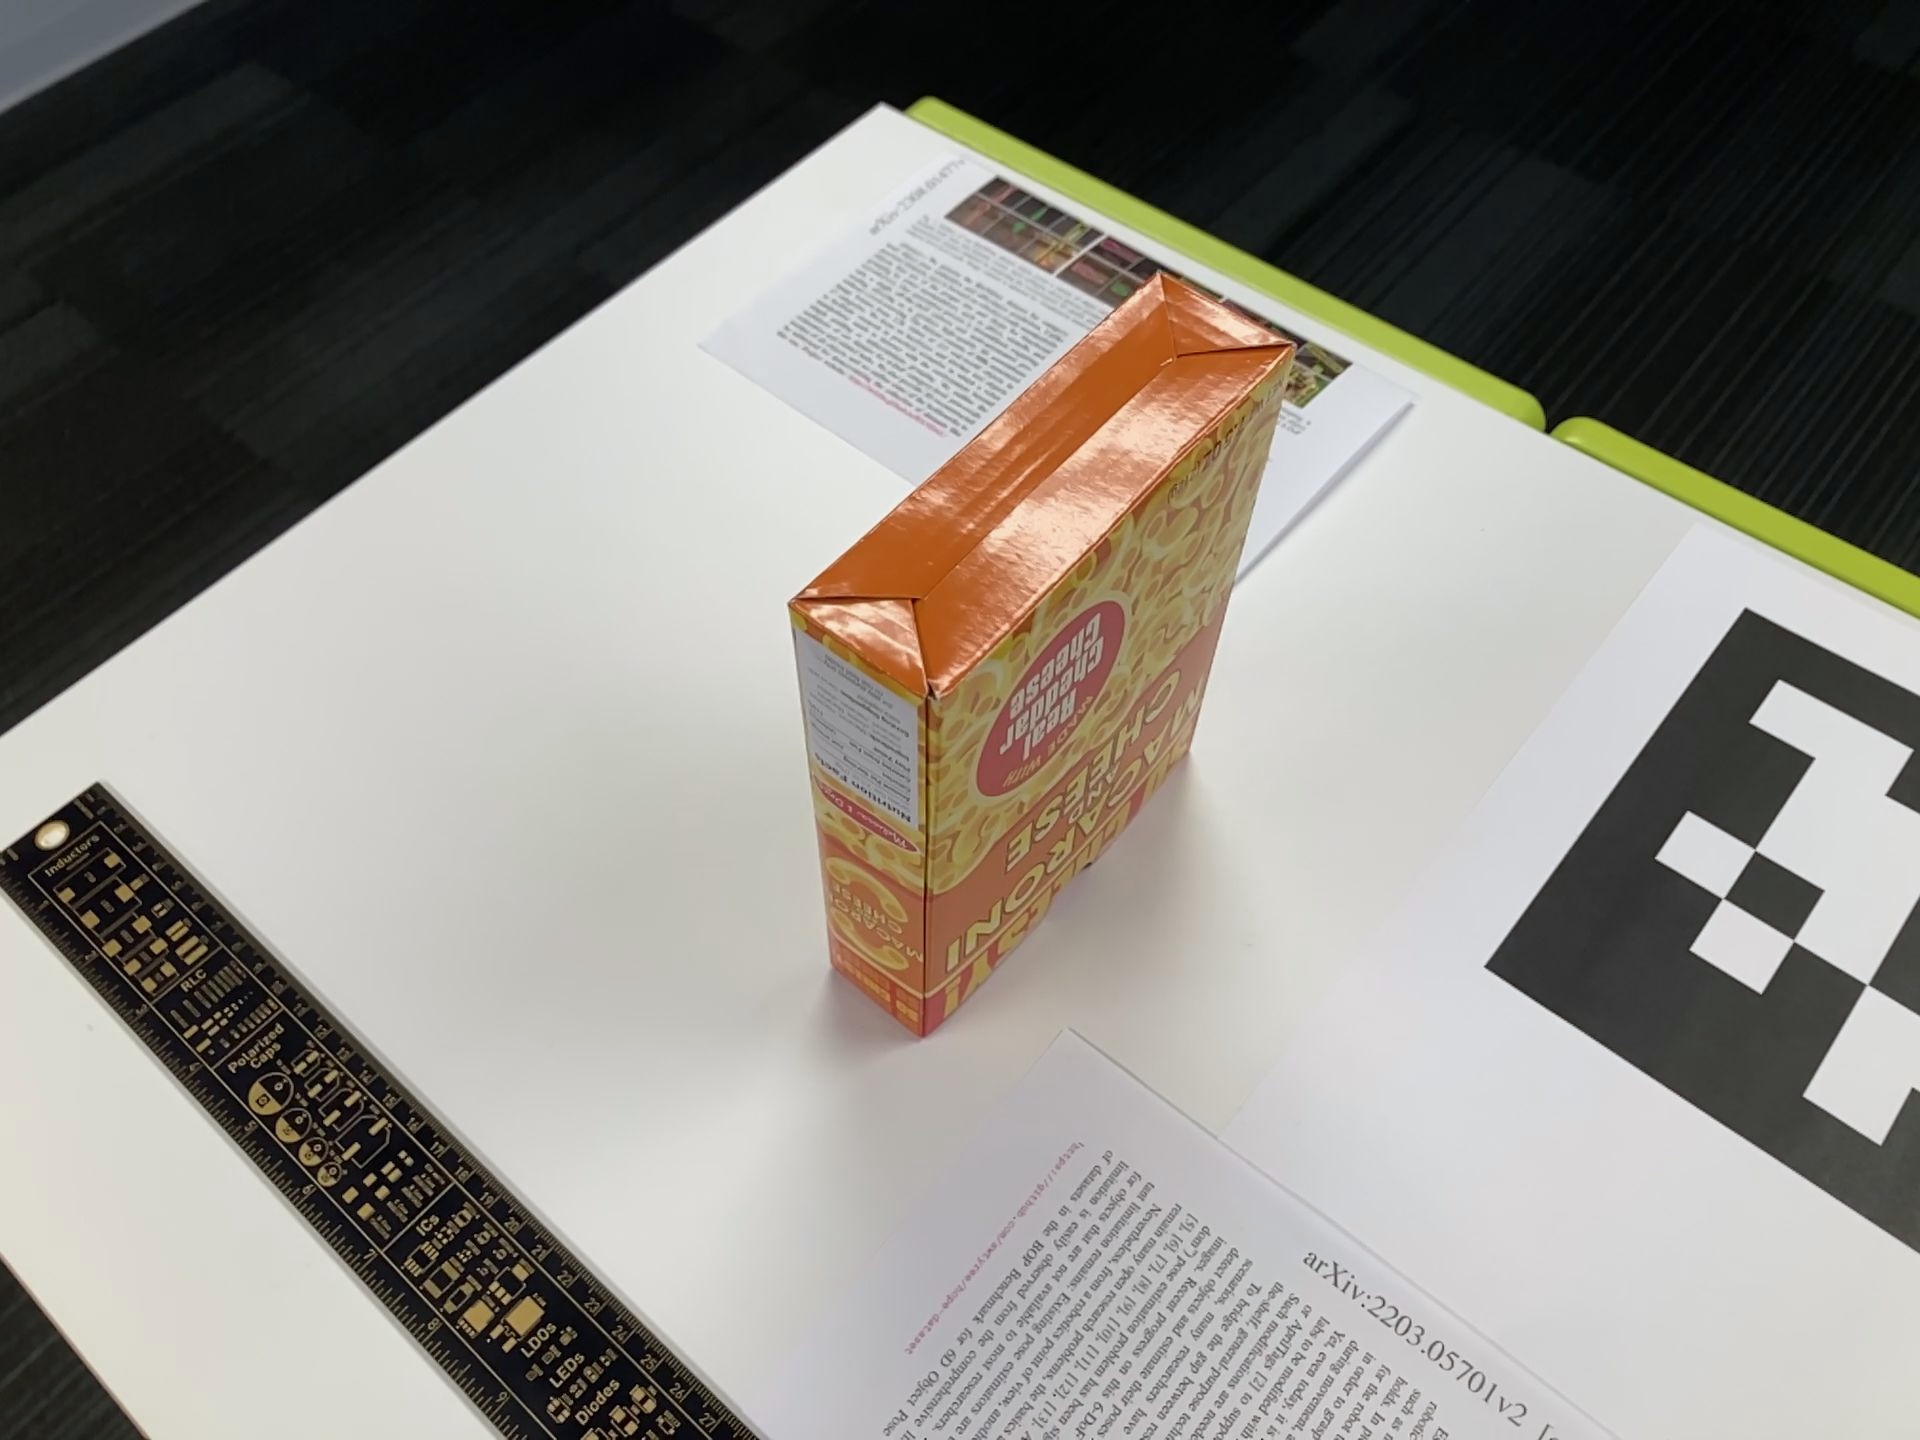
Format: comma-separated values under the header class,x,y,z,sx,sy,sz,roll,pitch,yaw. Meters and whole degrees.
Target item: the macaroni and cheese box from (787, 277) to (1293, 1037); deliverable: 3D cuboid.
class,x,y,z,sx,sy,sz,roll,pitch,yaw
macaroni and cheese box,0.017,-0.005,0.392,0.040,0.166,0.124,36,63,20
